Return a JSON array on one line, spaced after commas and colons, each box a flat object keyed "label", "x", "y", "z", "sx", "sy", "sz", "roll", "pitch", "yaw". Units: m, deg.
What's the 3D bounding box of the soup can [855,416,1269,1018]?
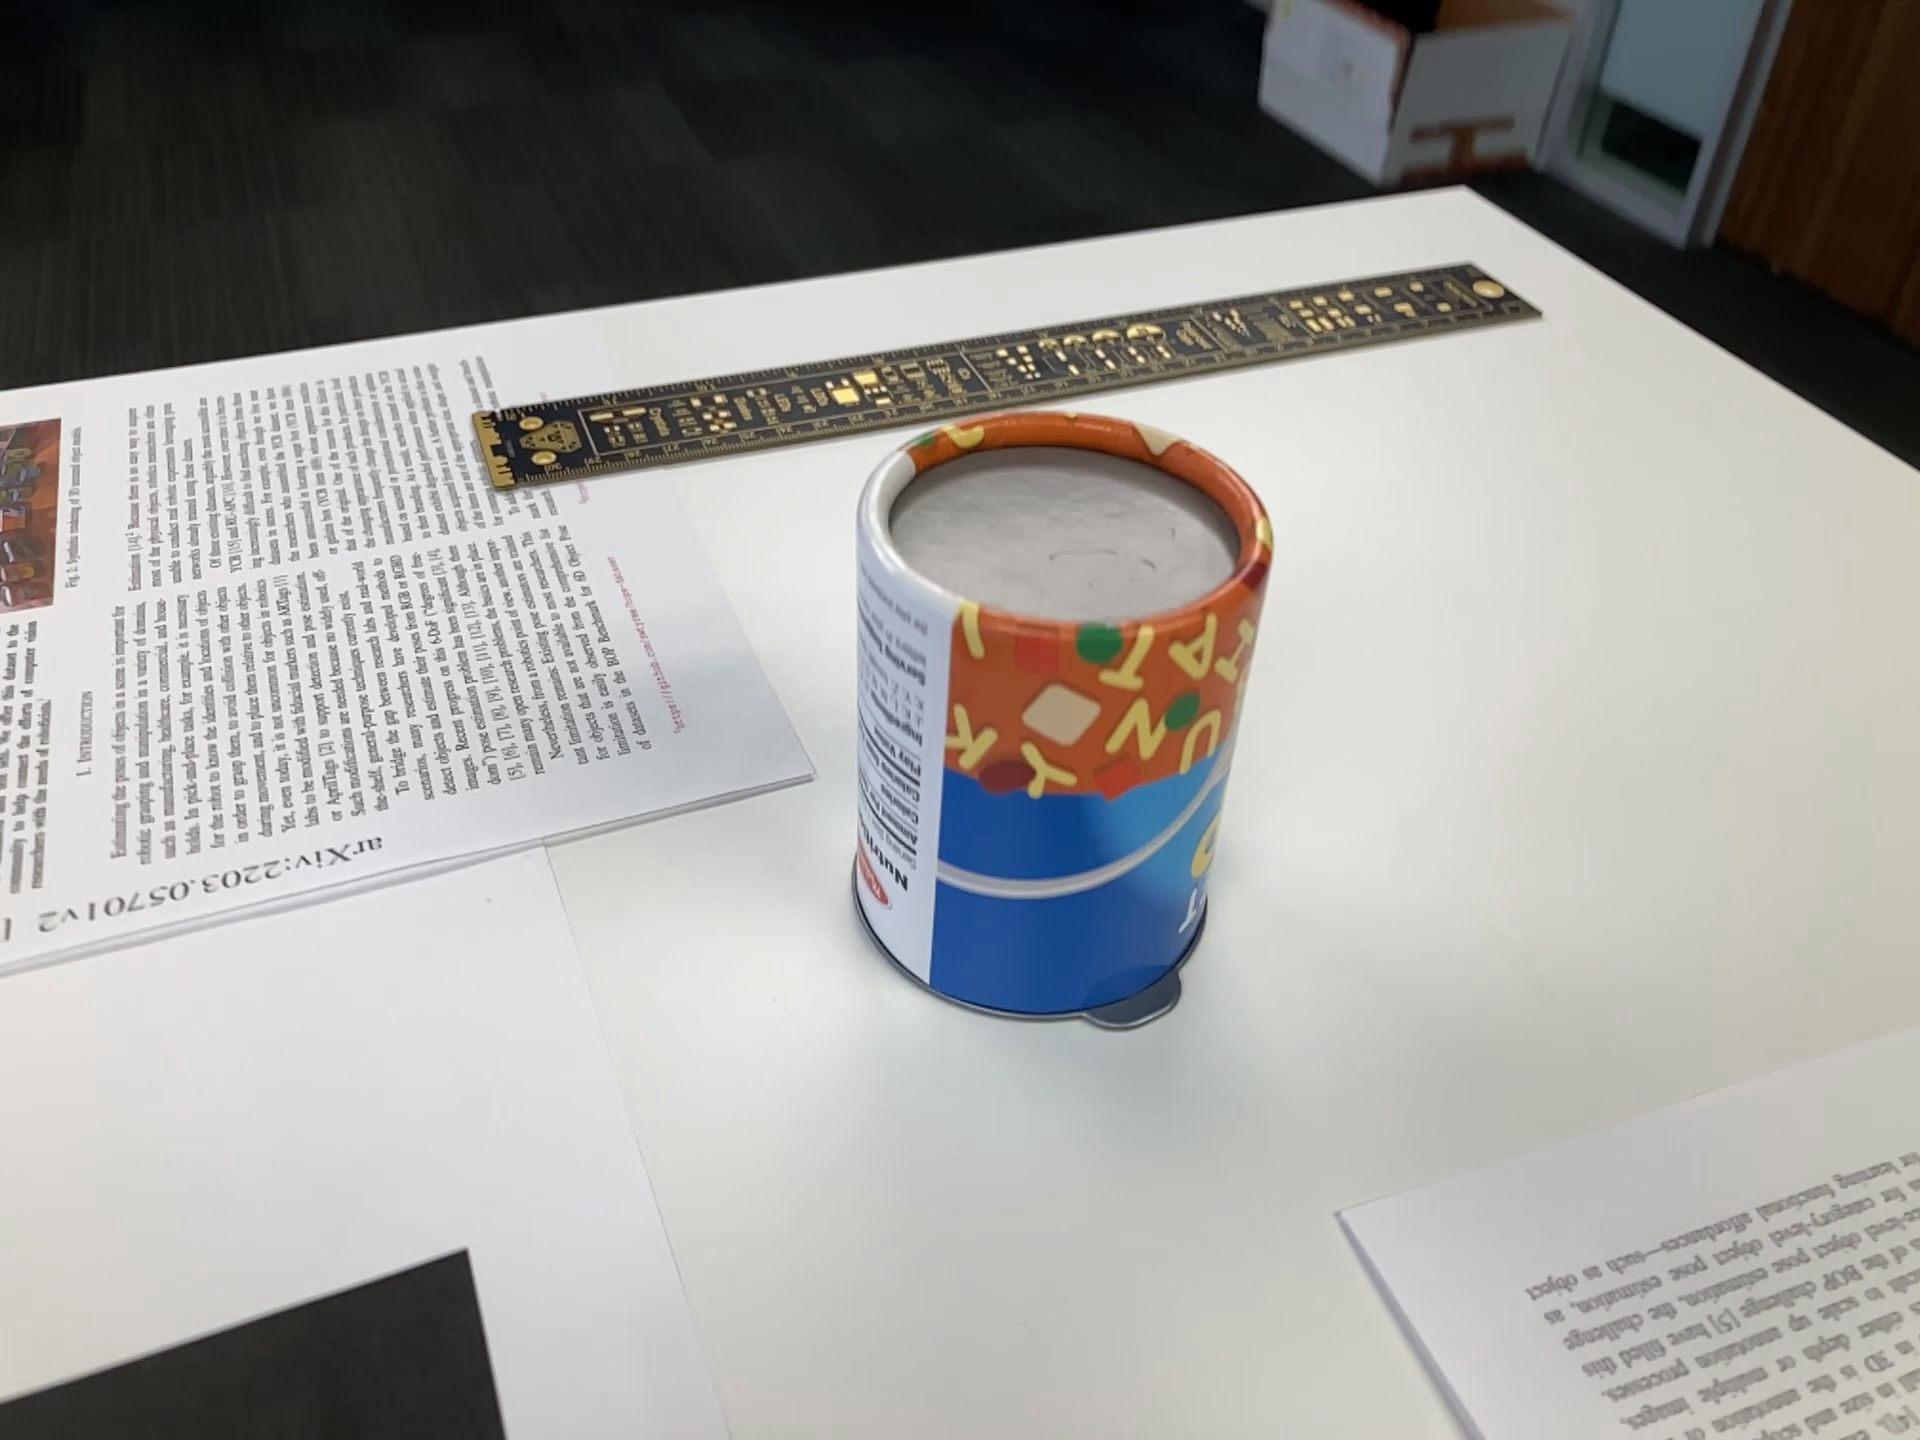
[{"label": "soup can", "x": 0.017, "y": -0.001, "z": 0.276, "sx": 0.071, "sy": 0.084, "sz": 0.071, "roll": 2, "pitch": 40, "yaw": -2}]
